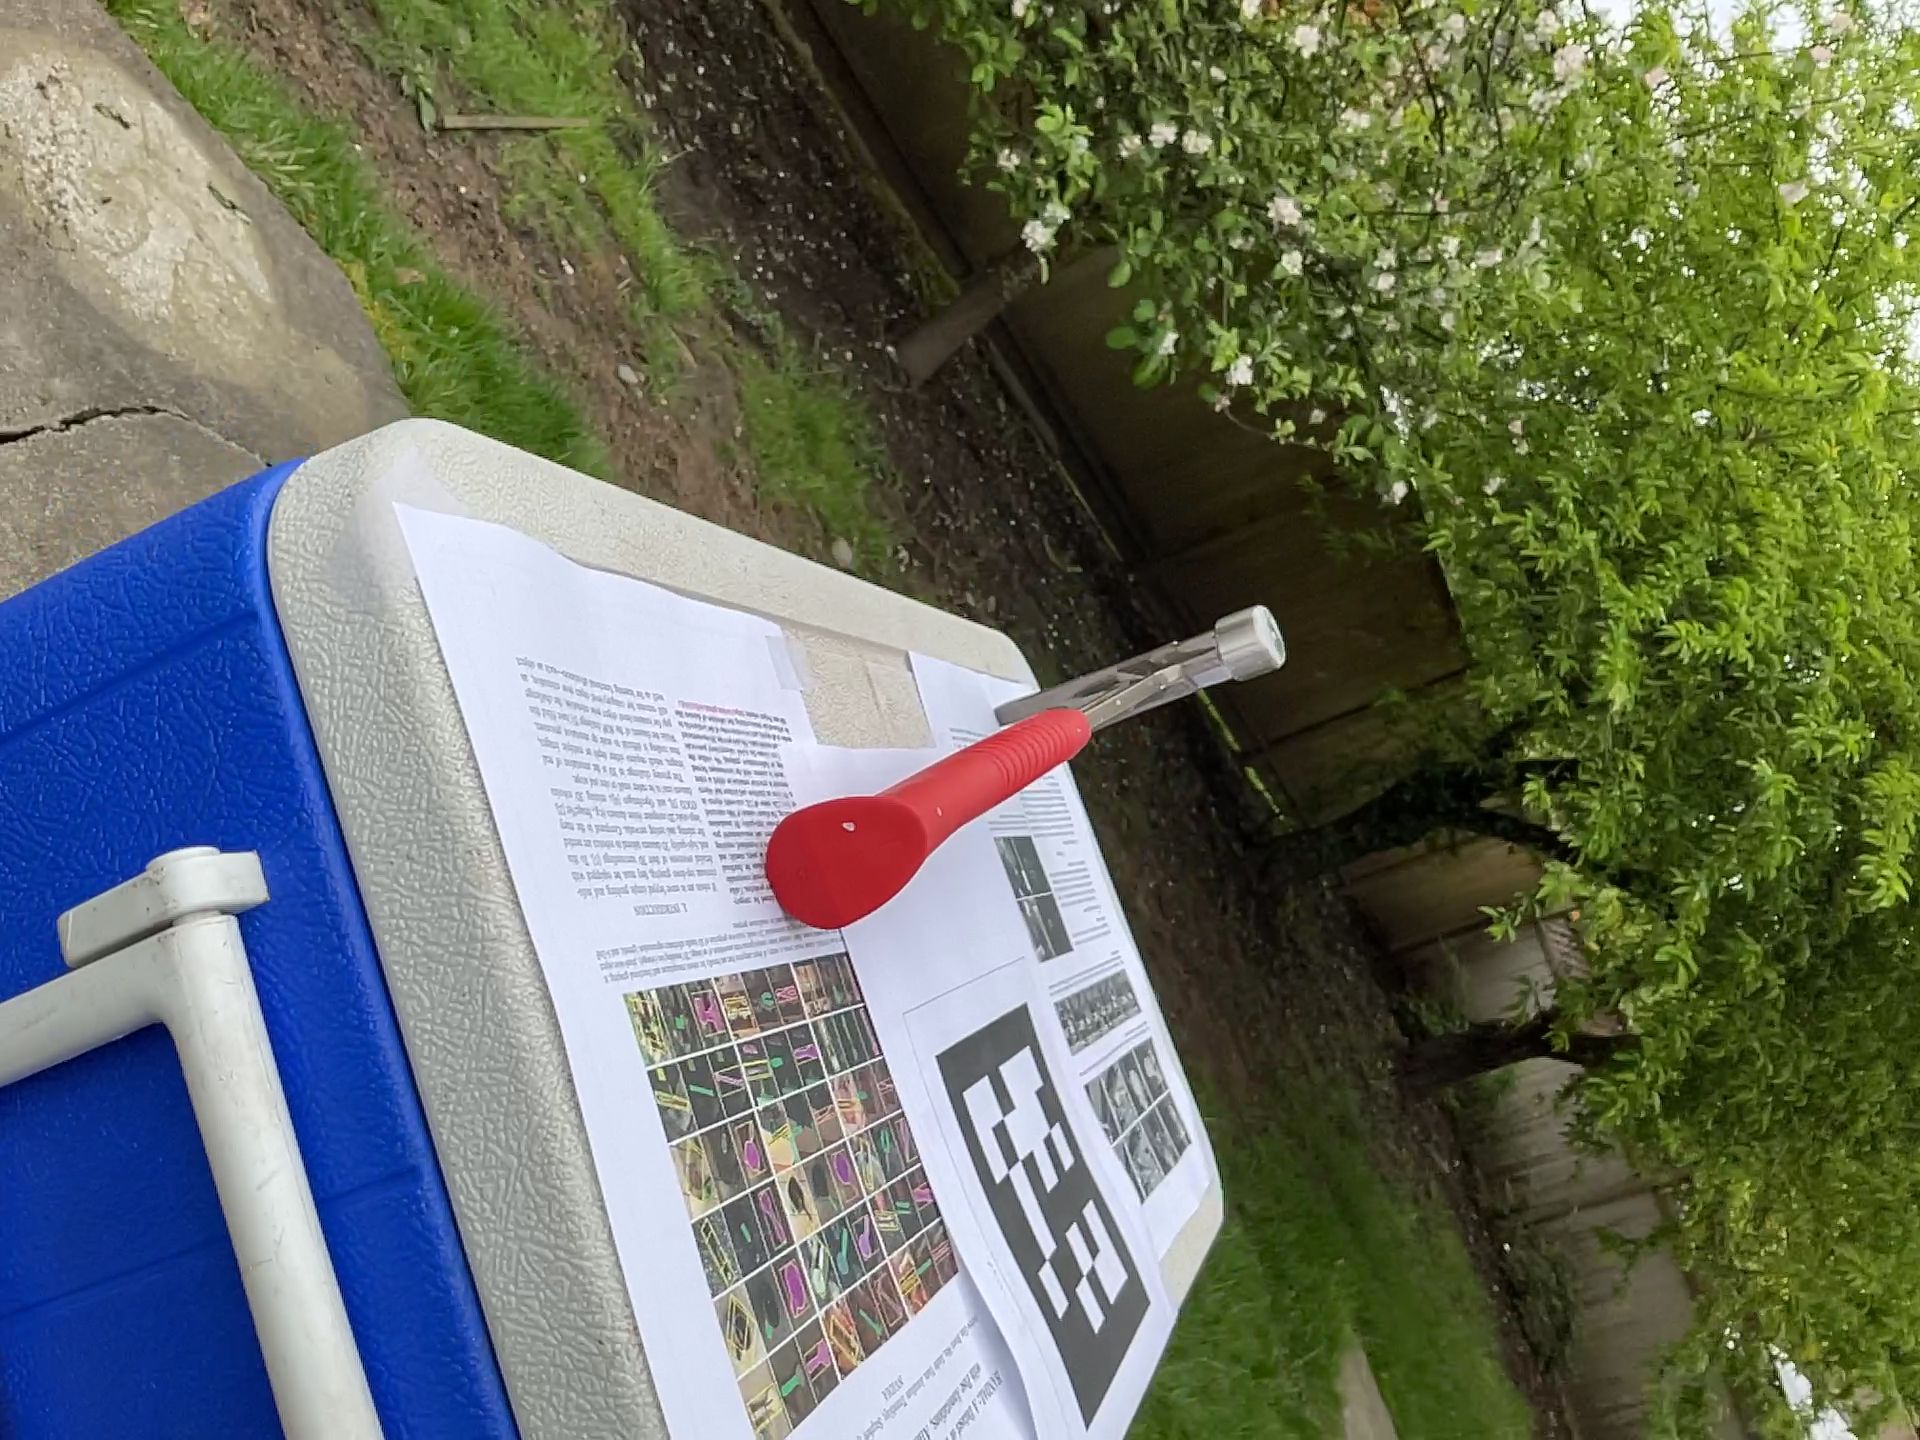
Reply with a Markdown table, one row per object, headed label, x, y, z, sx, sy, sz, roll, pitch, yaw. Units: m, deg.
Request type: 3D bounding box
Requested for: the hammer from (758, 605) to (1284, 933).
| label | x | y | z | sx | sy | sz | roll | pitch | yaw |
| --- | --- | --- | --- | --- | --- | --- | --- | --- | --- |
| hammer | 0.018 | 0.014 | 0.620 | 0.359 | 0.149 | 0.037 | -25 | 93 | -64 |
